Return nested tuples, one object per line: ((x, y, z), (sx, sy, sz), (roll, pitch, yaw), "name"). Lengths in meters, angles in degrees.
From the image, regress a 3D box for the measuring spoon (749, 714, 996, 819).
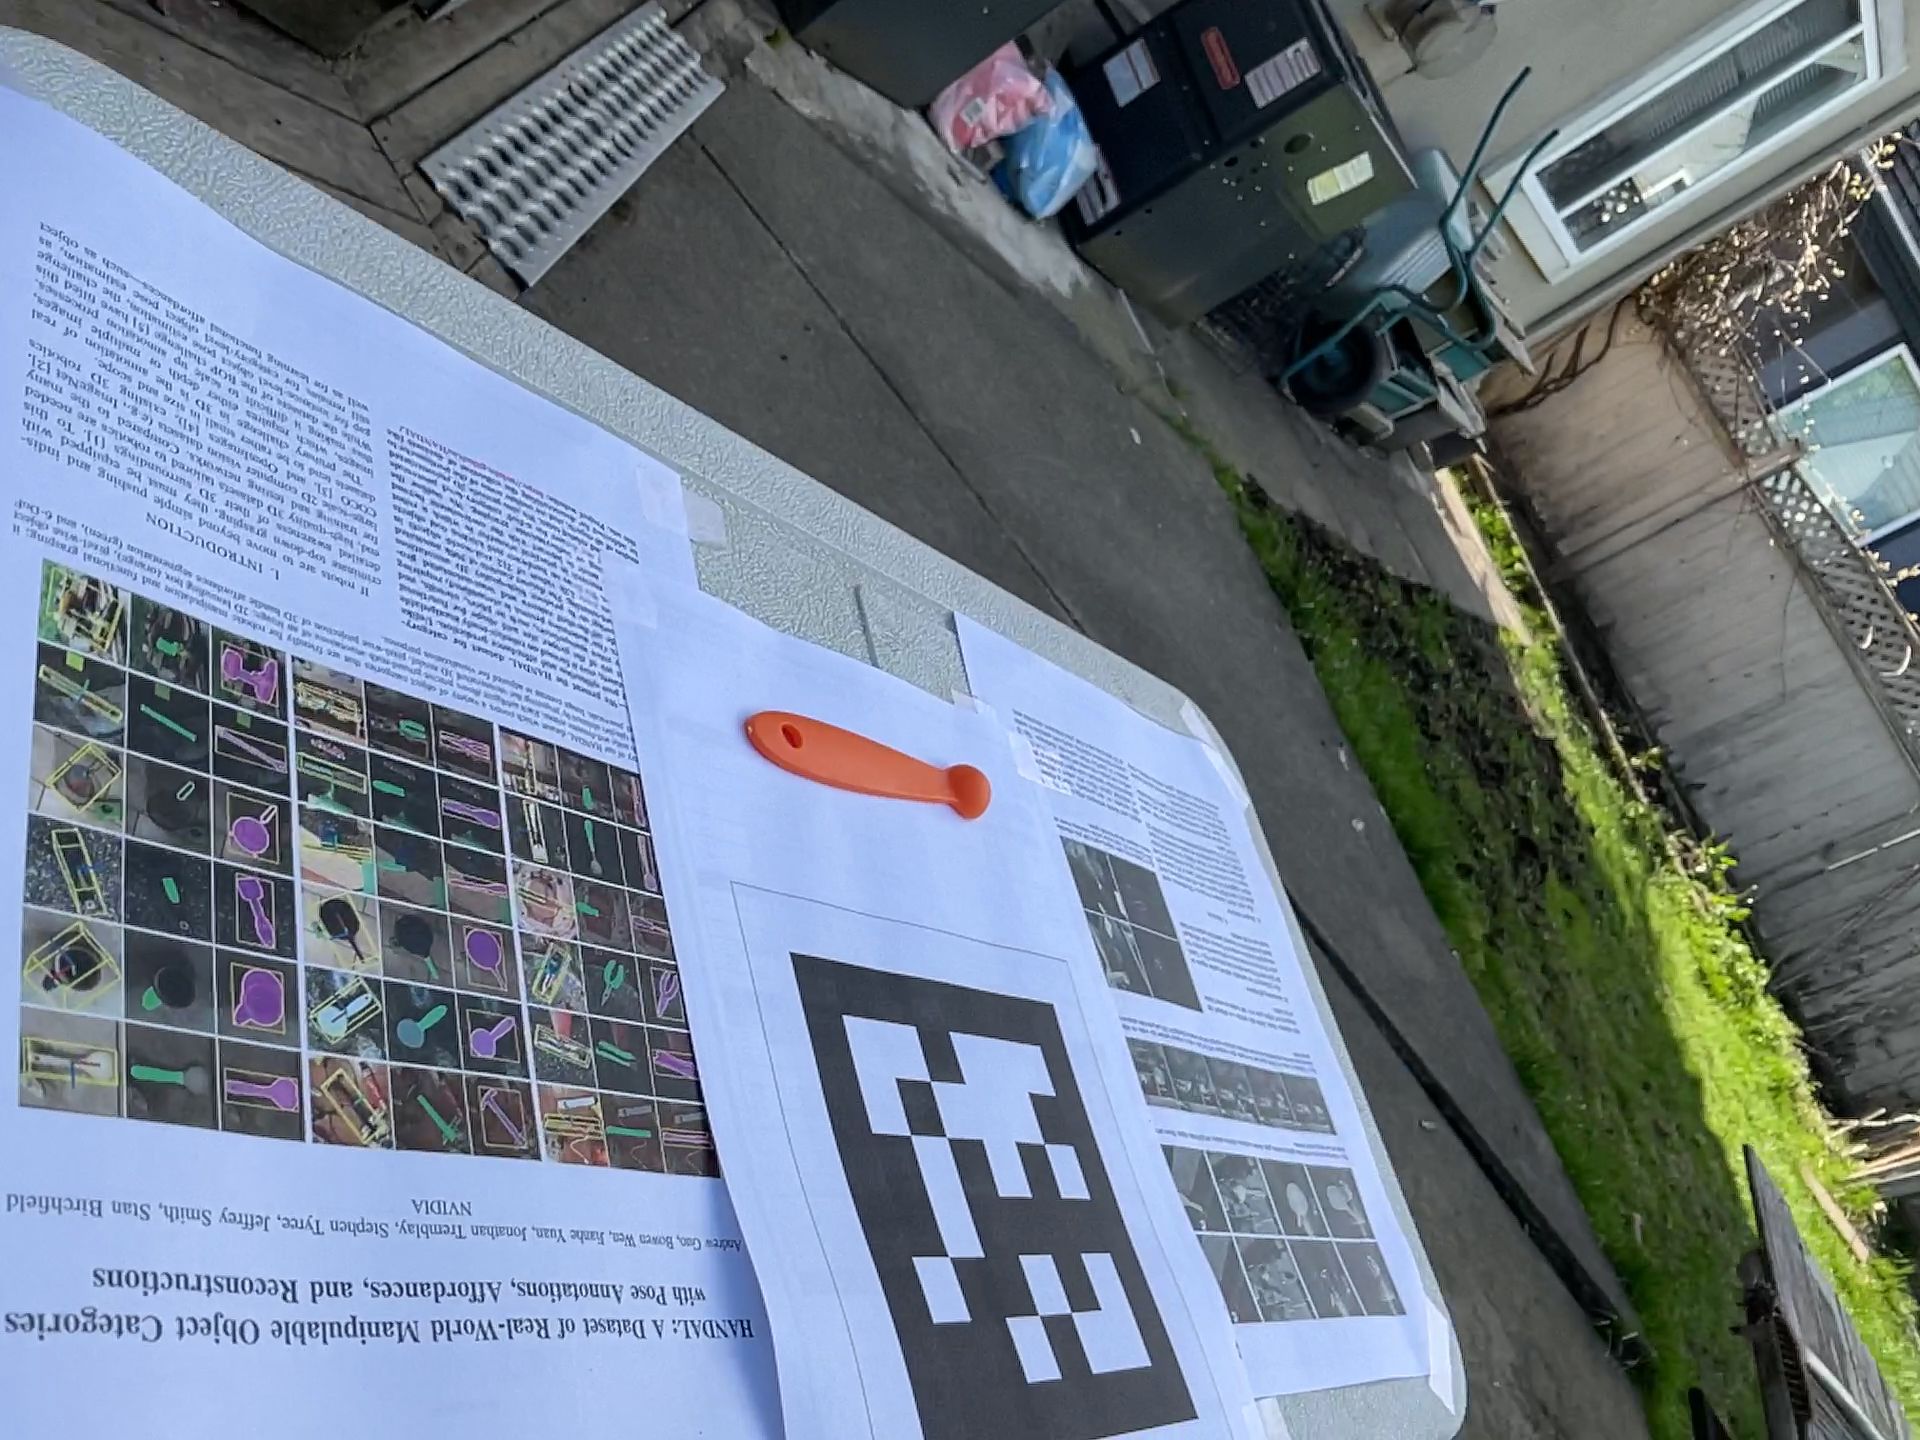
((-0.023, 0.013, 0.494), (0.117, 0.011, 0.021), (19, 41, -53), "measuring spoon")
